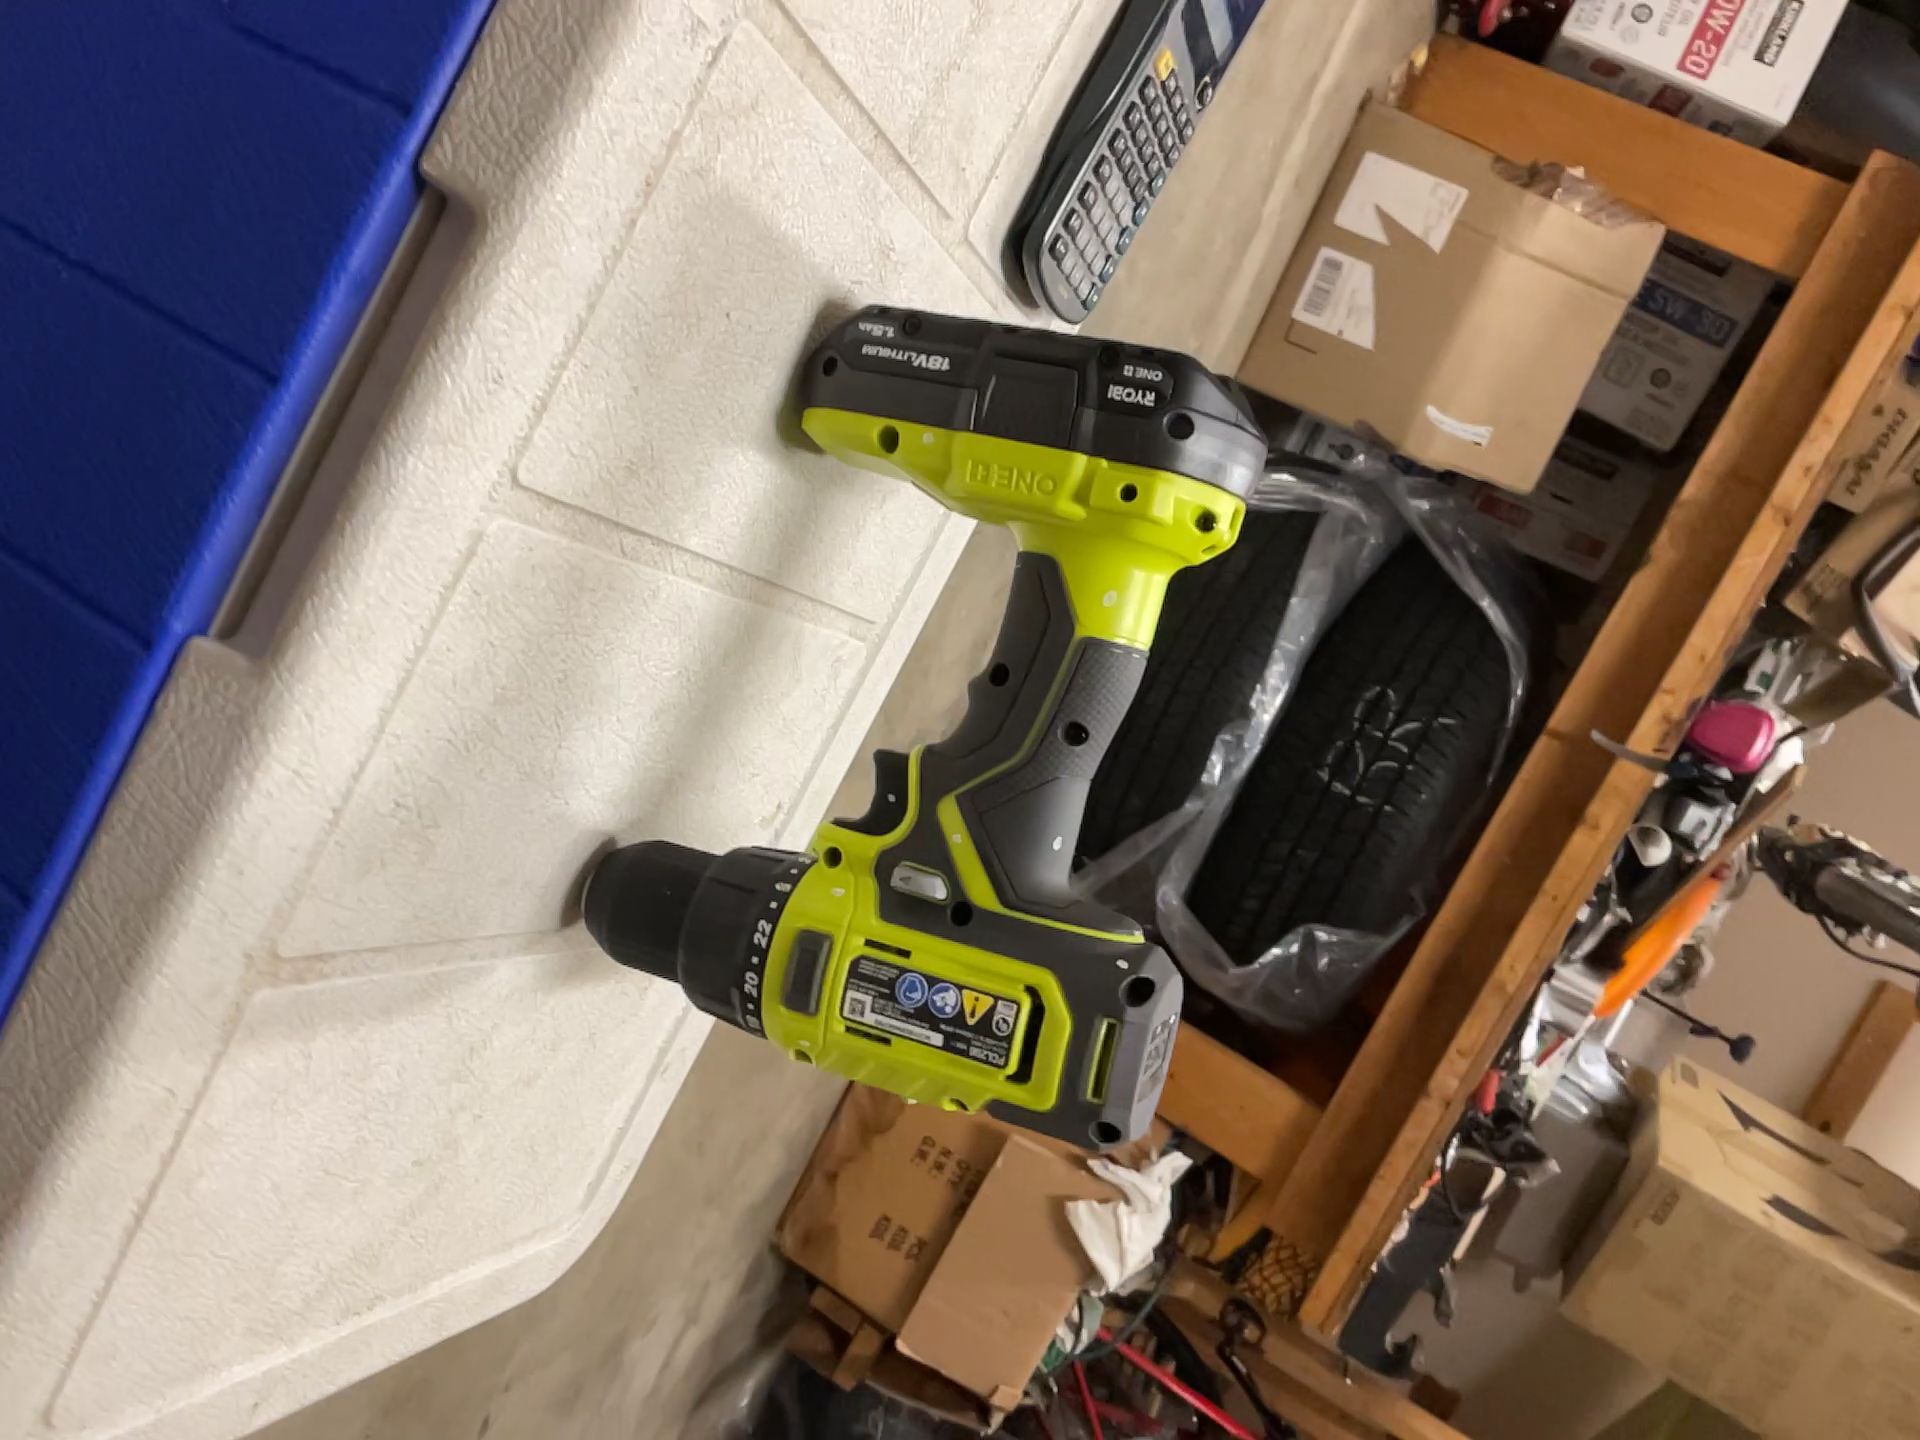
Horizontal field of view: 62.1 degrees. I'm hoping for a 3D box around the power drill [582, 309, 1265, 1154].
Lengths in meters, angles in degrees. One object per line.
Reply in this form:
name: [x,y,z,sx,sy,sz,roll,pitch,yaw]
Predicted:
power drill: [-0.012,0.000,0.492,0.080,0.190,0.228,8,96,-72]
